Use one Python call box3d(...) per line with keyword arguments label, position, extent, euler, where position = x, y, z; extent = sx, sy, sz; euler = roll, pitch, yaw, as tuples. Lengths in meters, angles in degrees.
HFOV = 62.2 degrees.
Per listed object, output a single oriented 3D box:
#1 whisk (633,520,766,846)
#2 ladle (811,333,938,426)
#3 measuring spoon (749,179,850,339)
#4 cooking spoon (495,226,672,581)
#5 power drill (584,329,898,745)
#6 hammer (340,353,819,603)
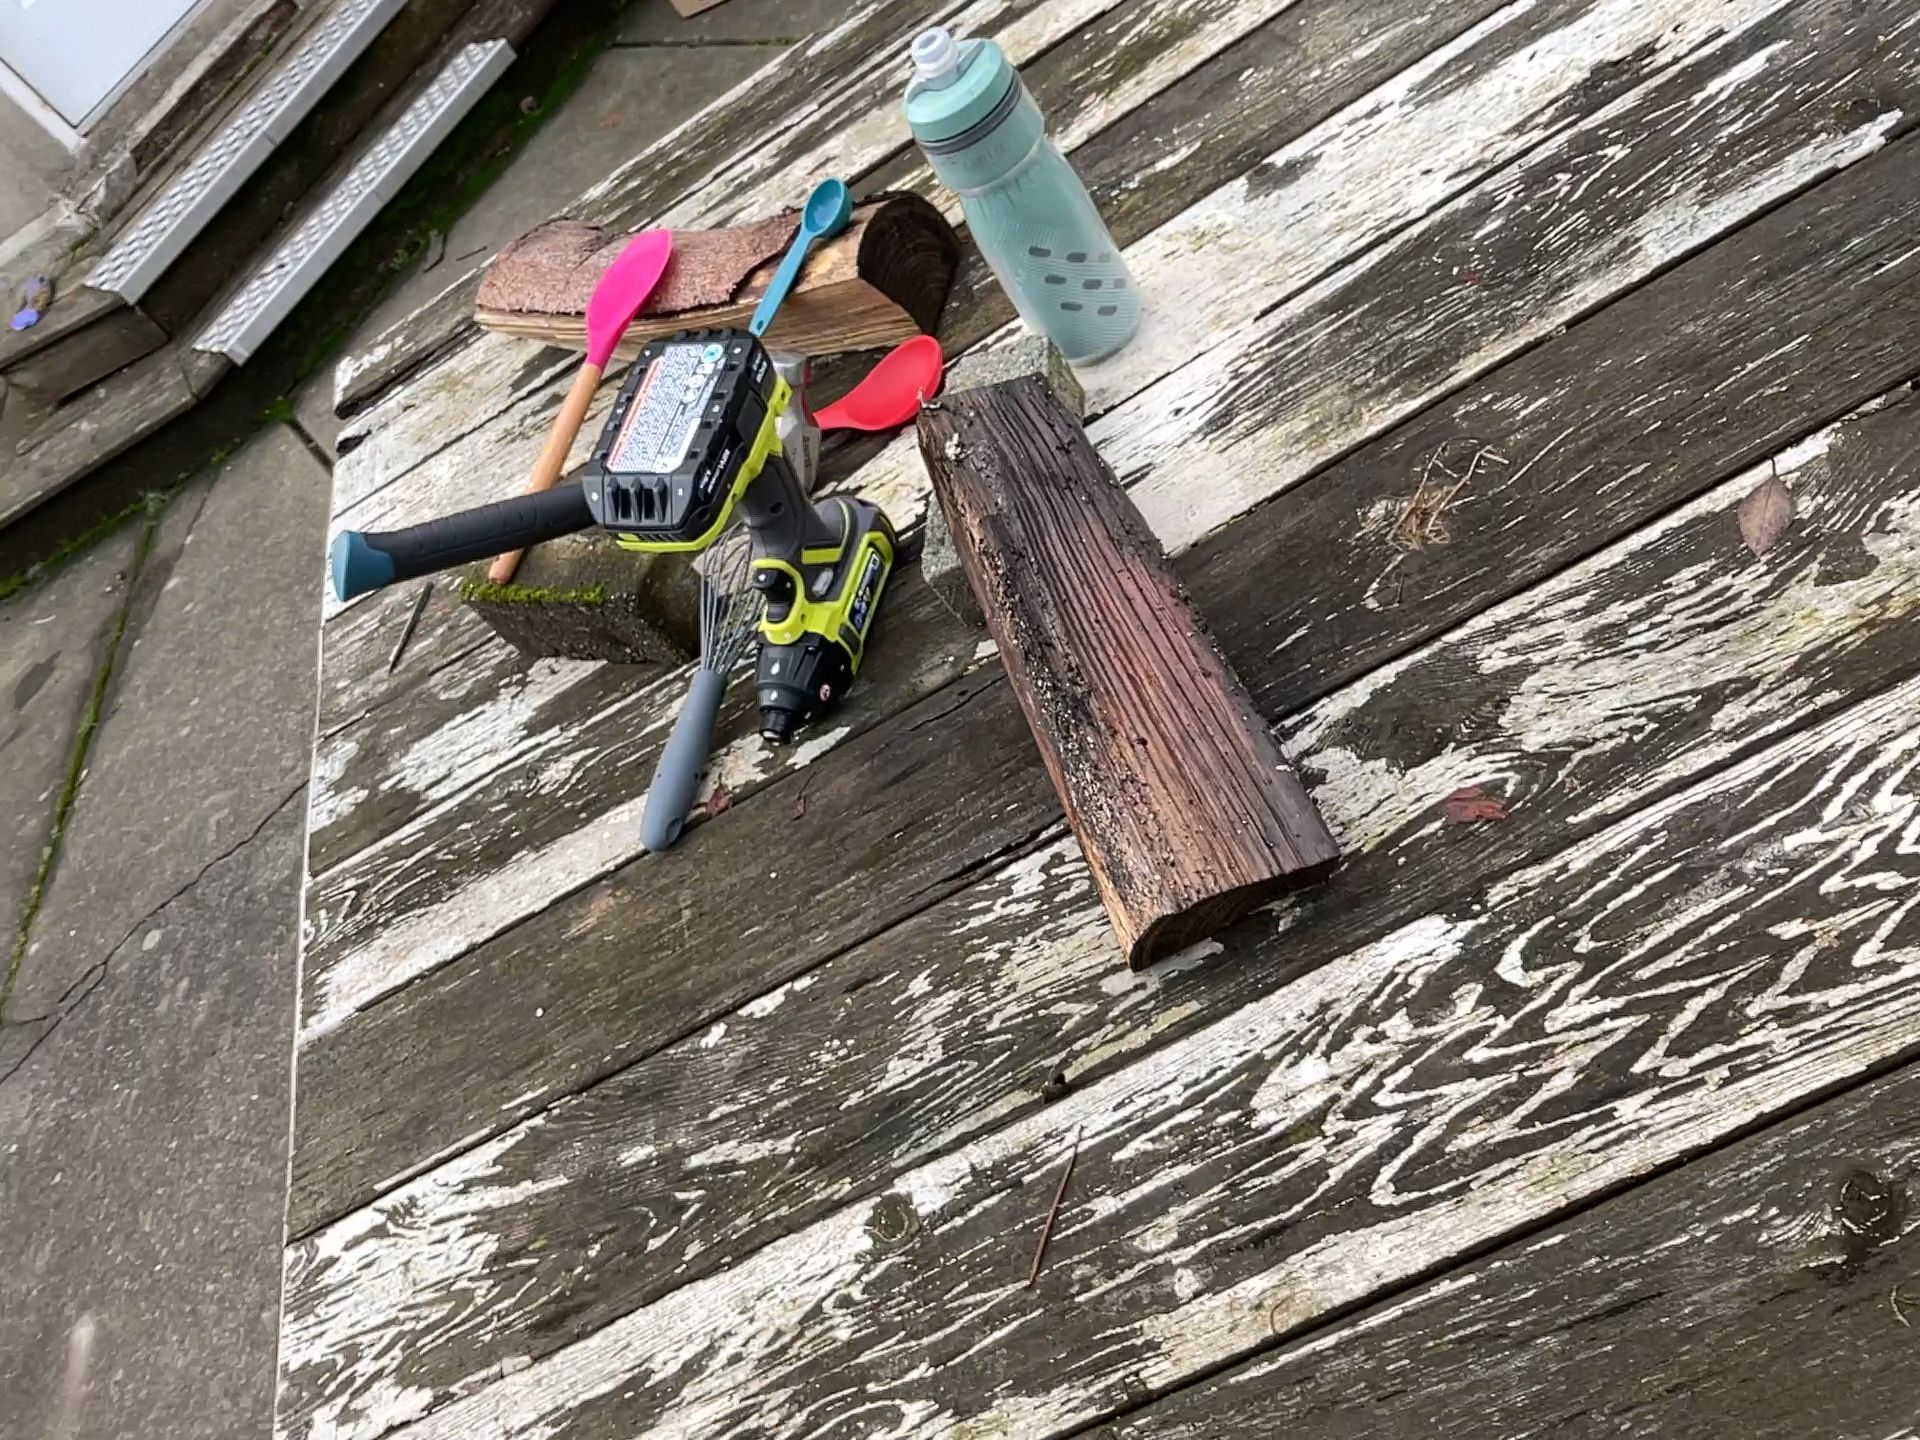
box3d(label="whisk", position=(-0.168, -0.028, 1.033), extent=(0.055, 0.055, 0.239), euler=(-8, 56, 39))
box3d(label="ladle", position=(-0.146, -0.205, 1.175), extent=(0.315, 0.031, 0.069), euler=(-18, 51, 25))
box3d(label="measuring spoon", position=(-0.113, -0.321, 1.132), extent=(0.128, 0.021, 0.042), euler=(-58, 43, 14))
box3d(label="cooking spoon", position=(-0.279, -0.241, 1.177), extent=(0.069, 0.017, 0.319), euler=(1, 62, 33))
box3d(label="power drill", position=(-0.119, -0.104, 0.941), extent=(0.080, 0.222, 0.171), euler=(3, 60, 27))
box3d(label="hammer", position=(-0.243, -0.144, 1.053), extent=(0.330, 0.128, 0.033), euler=(-21, 36, -25))
